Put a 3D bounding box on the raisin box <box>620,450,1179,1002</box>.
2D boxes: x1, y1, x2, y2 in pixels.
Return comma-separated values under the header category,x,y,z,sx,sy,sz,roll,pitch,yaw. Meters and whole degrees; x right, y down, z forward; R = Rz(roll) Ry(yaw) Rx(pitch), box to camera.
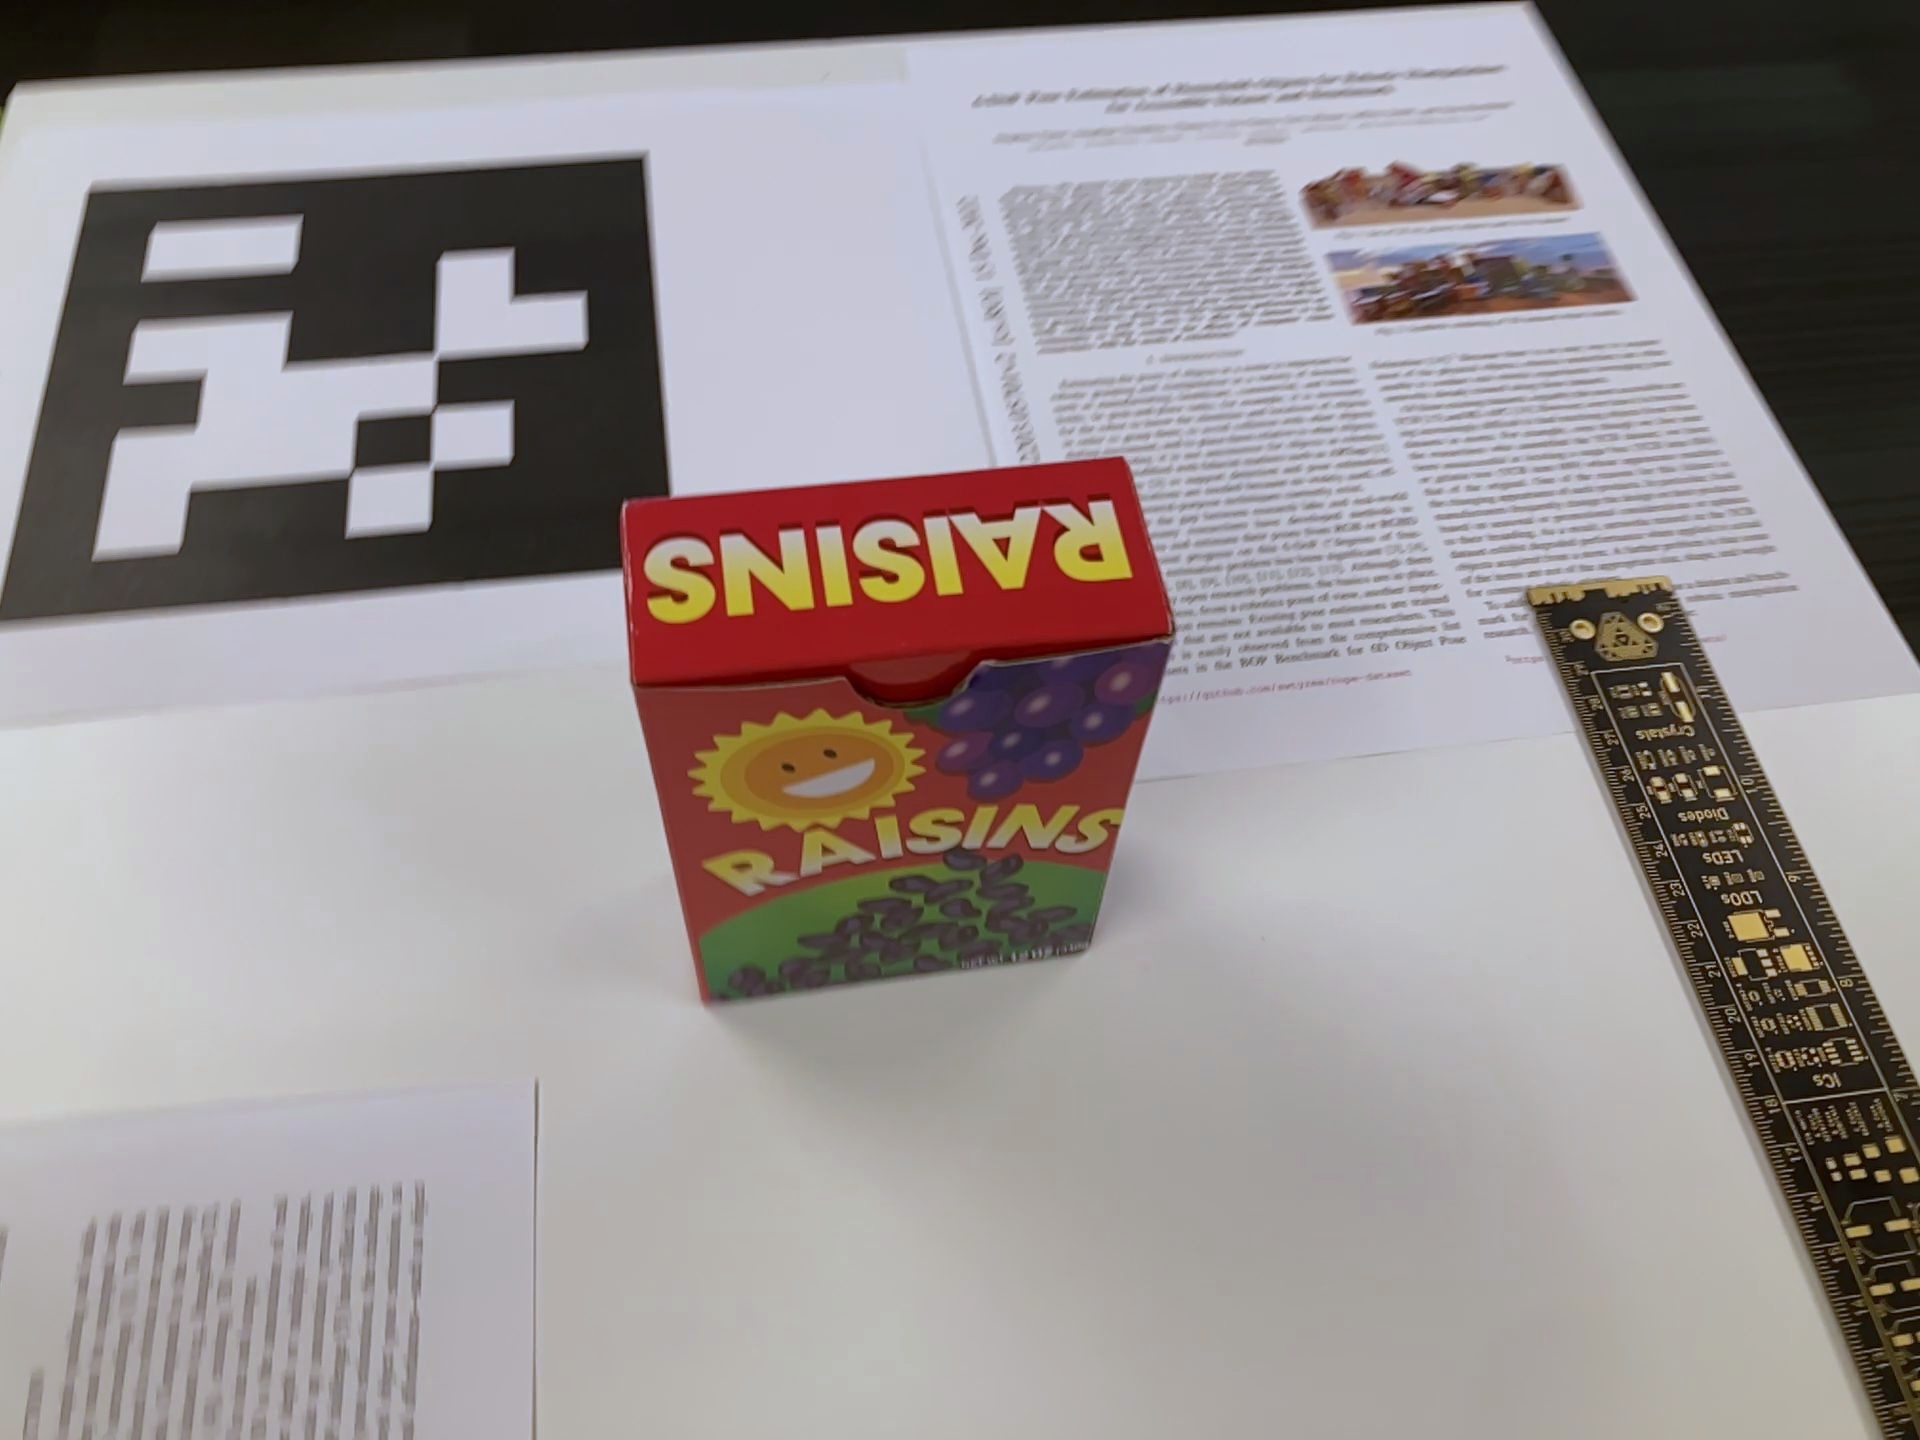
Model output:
category,x,y,z,sx,sy,sz,roll,pitch,yaw
raisin box,-0.013,0.008,0.297,0.086,0.123,0.040,-6,58,-7
